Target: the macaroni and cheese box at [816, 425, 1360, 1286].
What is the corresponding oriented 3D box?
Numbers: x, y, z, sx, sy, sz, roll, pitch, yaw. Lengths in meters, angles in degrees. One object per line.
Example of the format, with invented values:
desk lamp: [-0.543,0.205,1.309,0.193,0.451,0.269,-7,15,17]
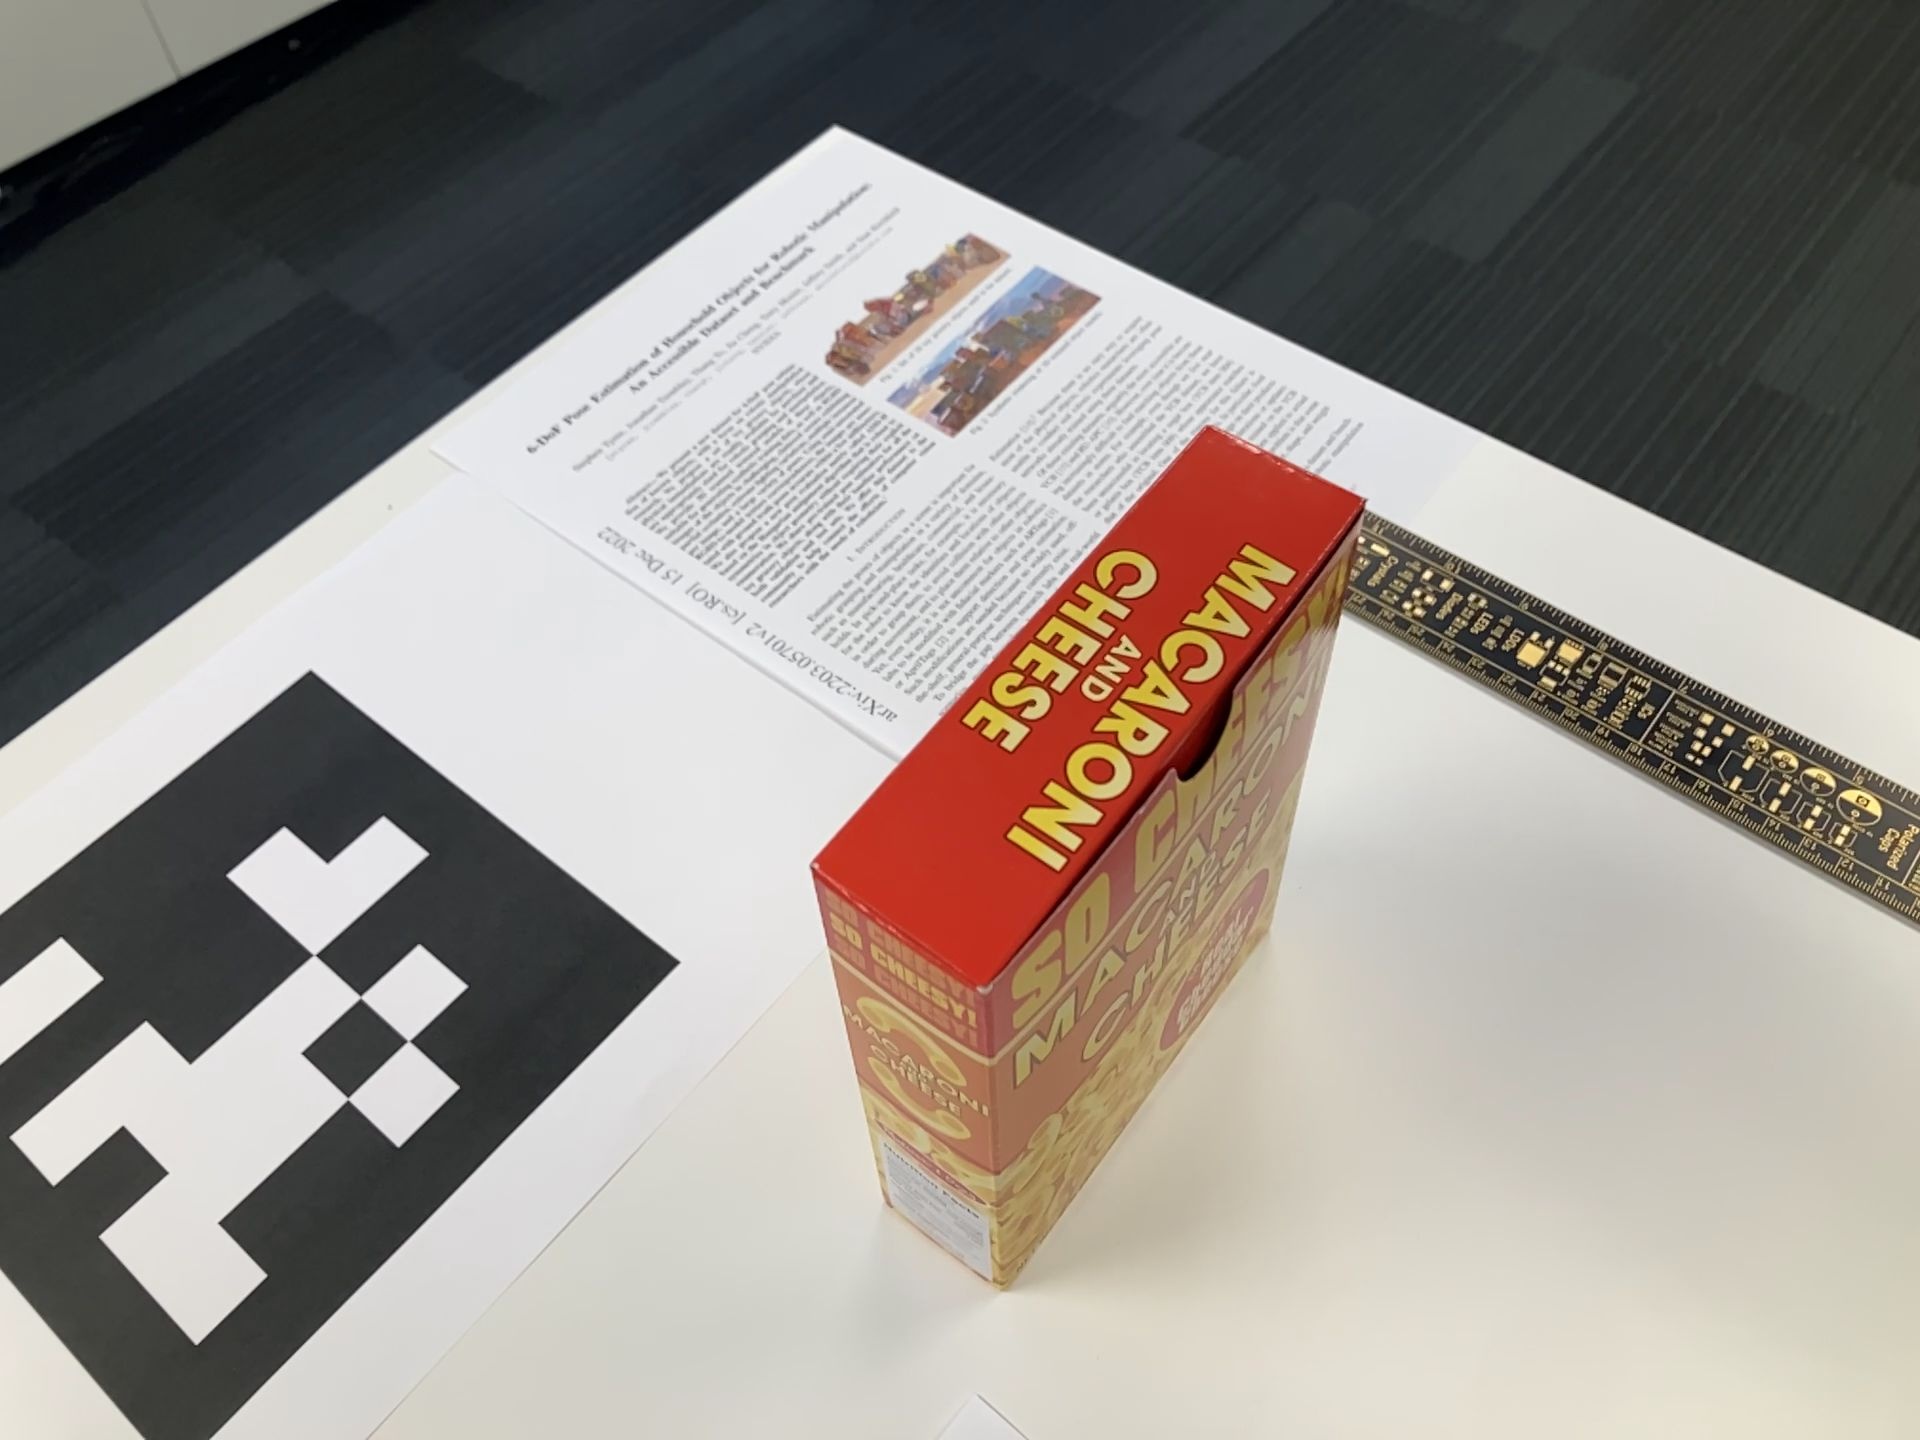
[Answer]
macaroni and cheese box: [0.030,0.038,0.344,0.040,0.166,0.124,30,61,21]
